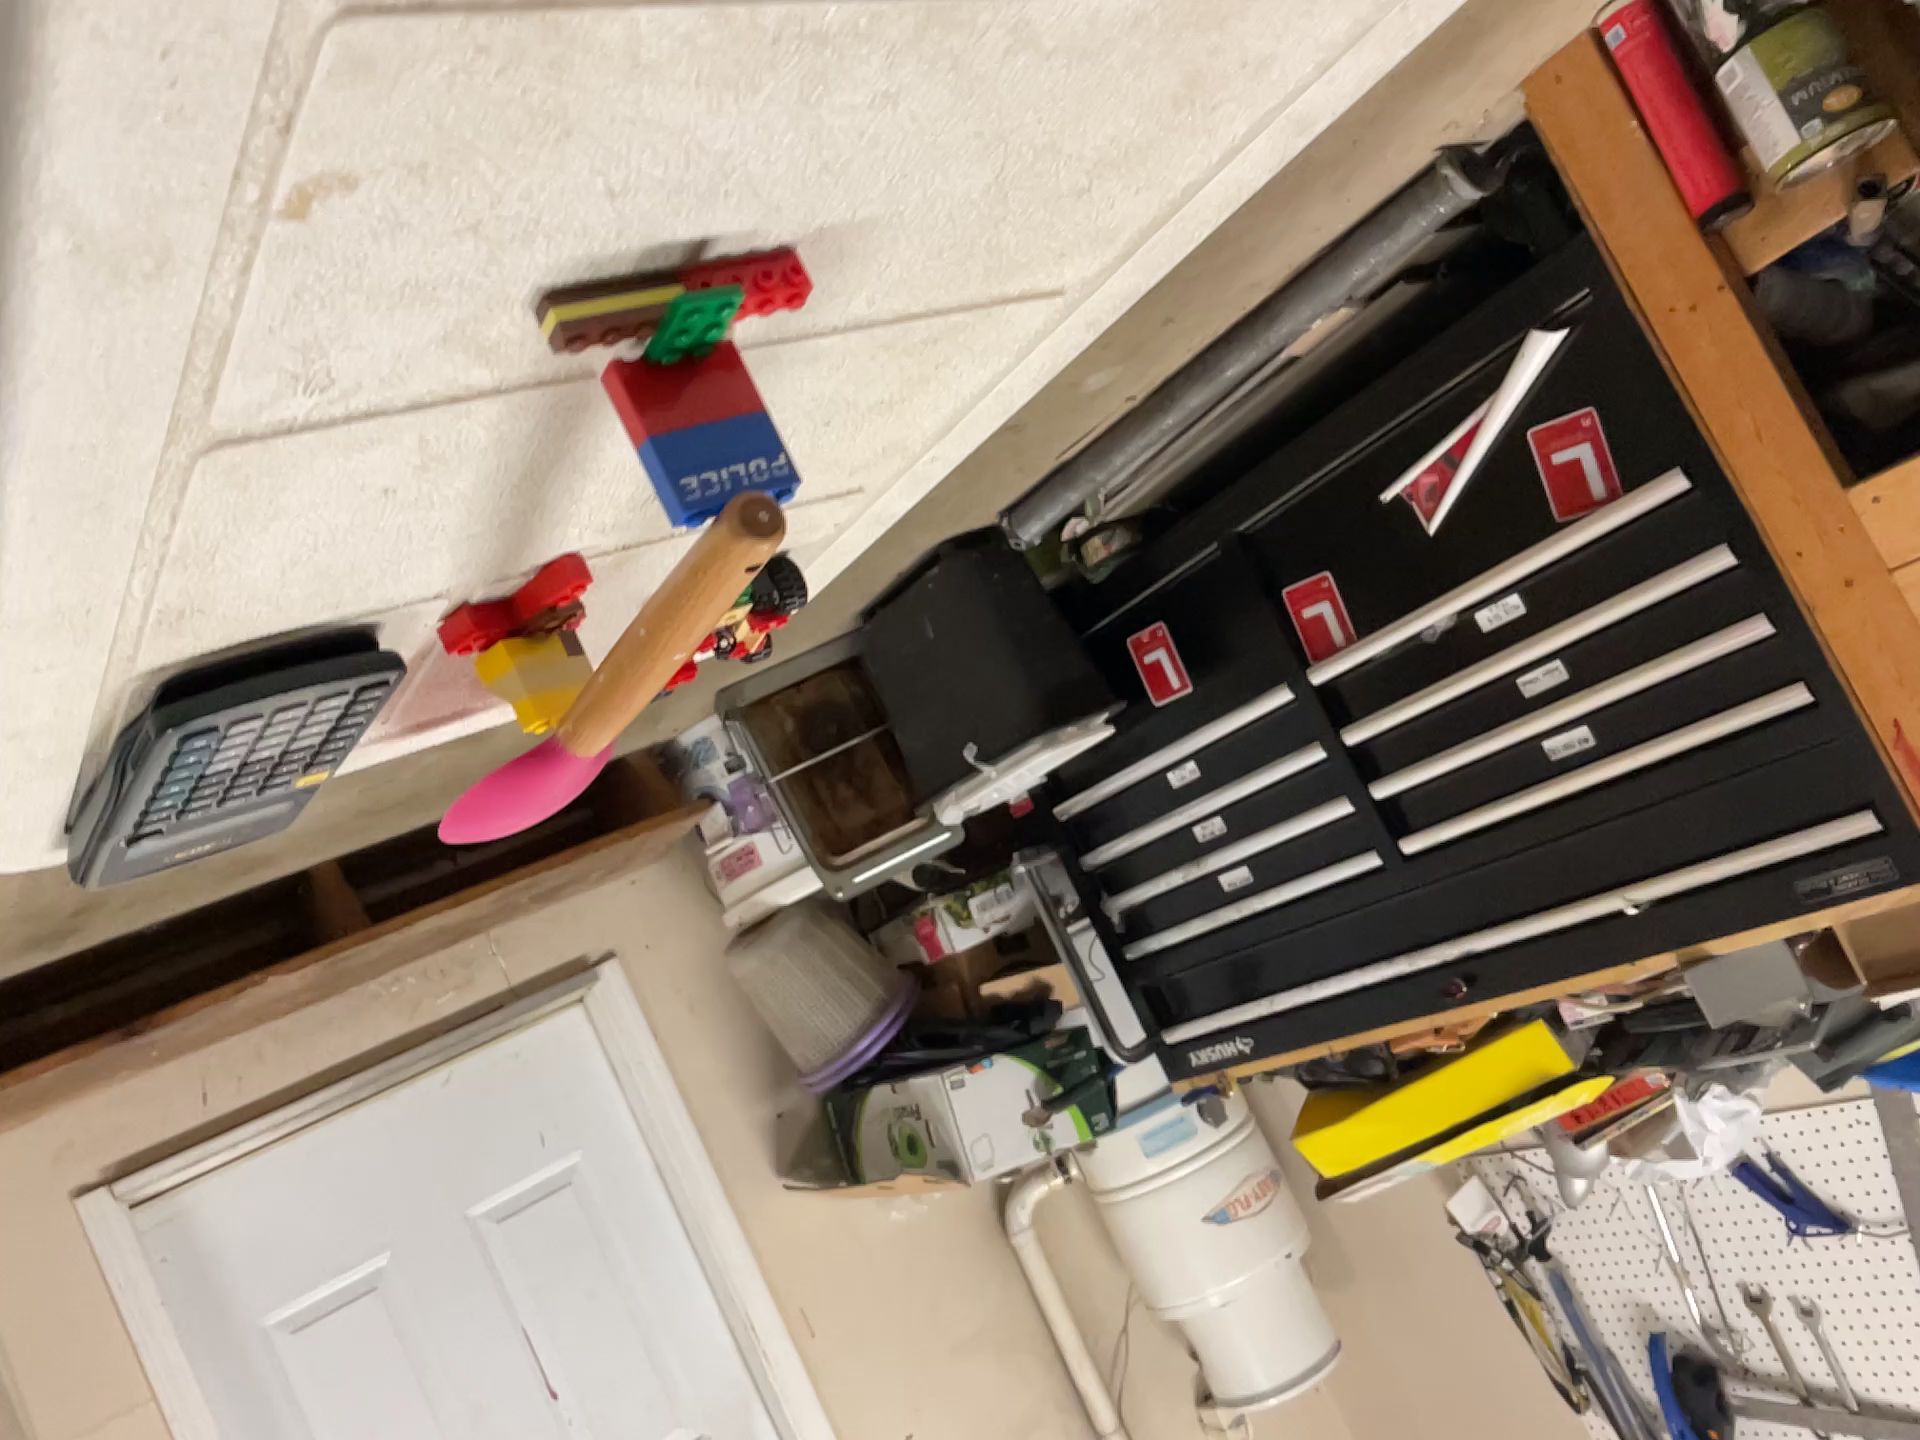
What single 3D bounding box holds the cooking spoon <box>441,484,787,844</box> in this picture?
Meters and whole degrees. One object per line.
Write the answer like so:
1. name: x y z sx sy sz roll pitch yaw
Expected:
1. cooking spoon: -0.109 -0.003 0.484 0.069 0.017 0.318 -28 177 -29
